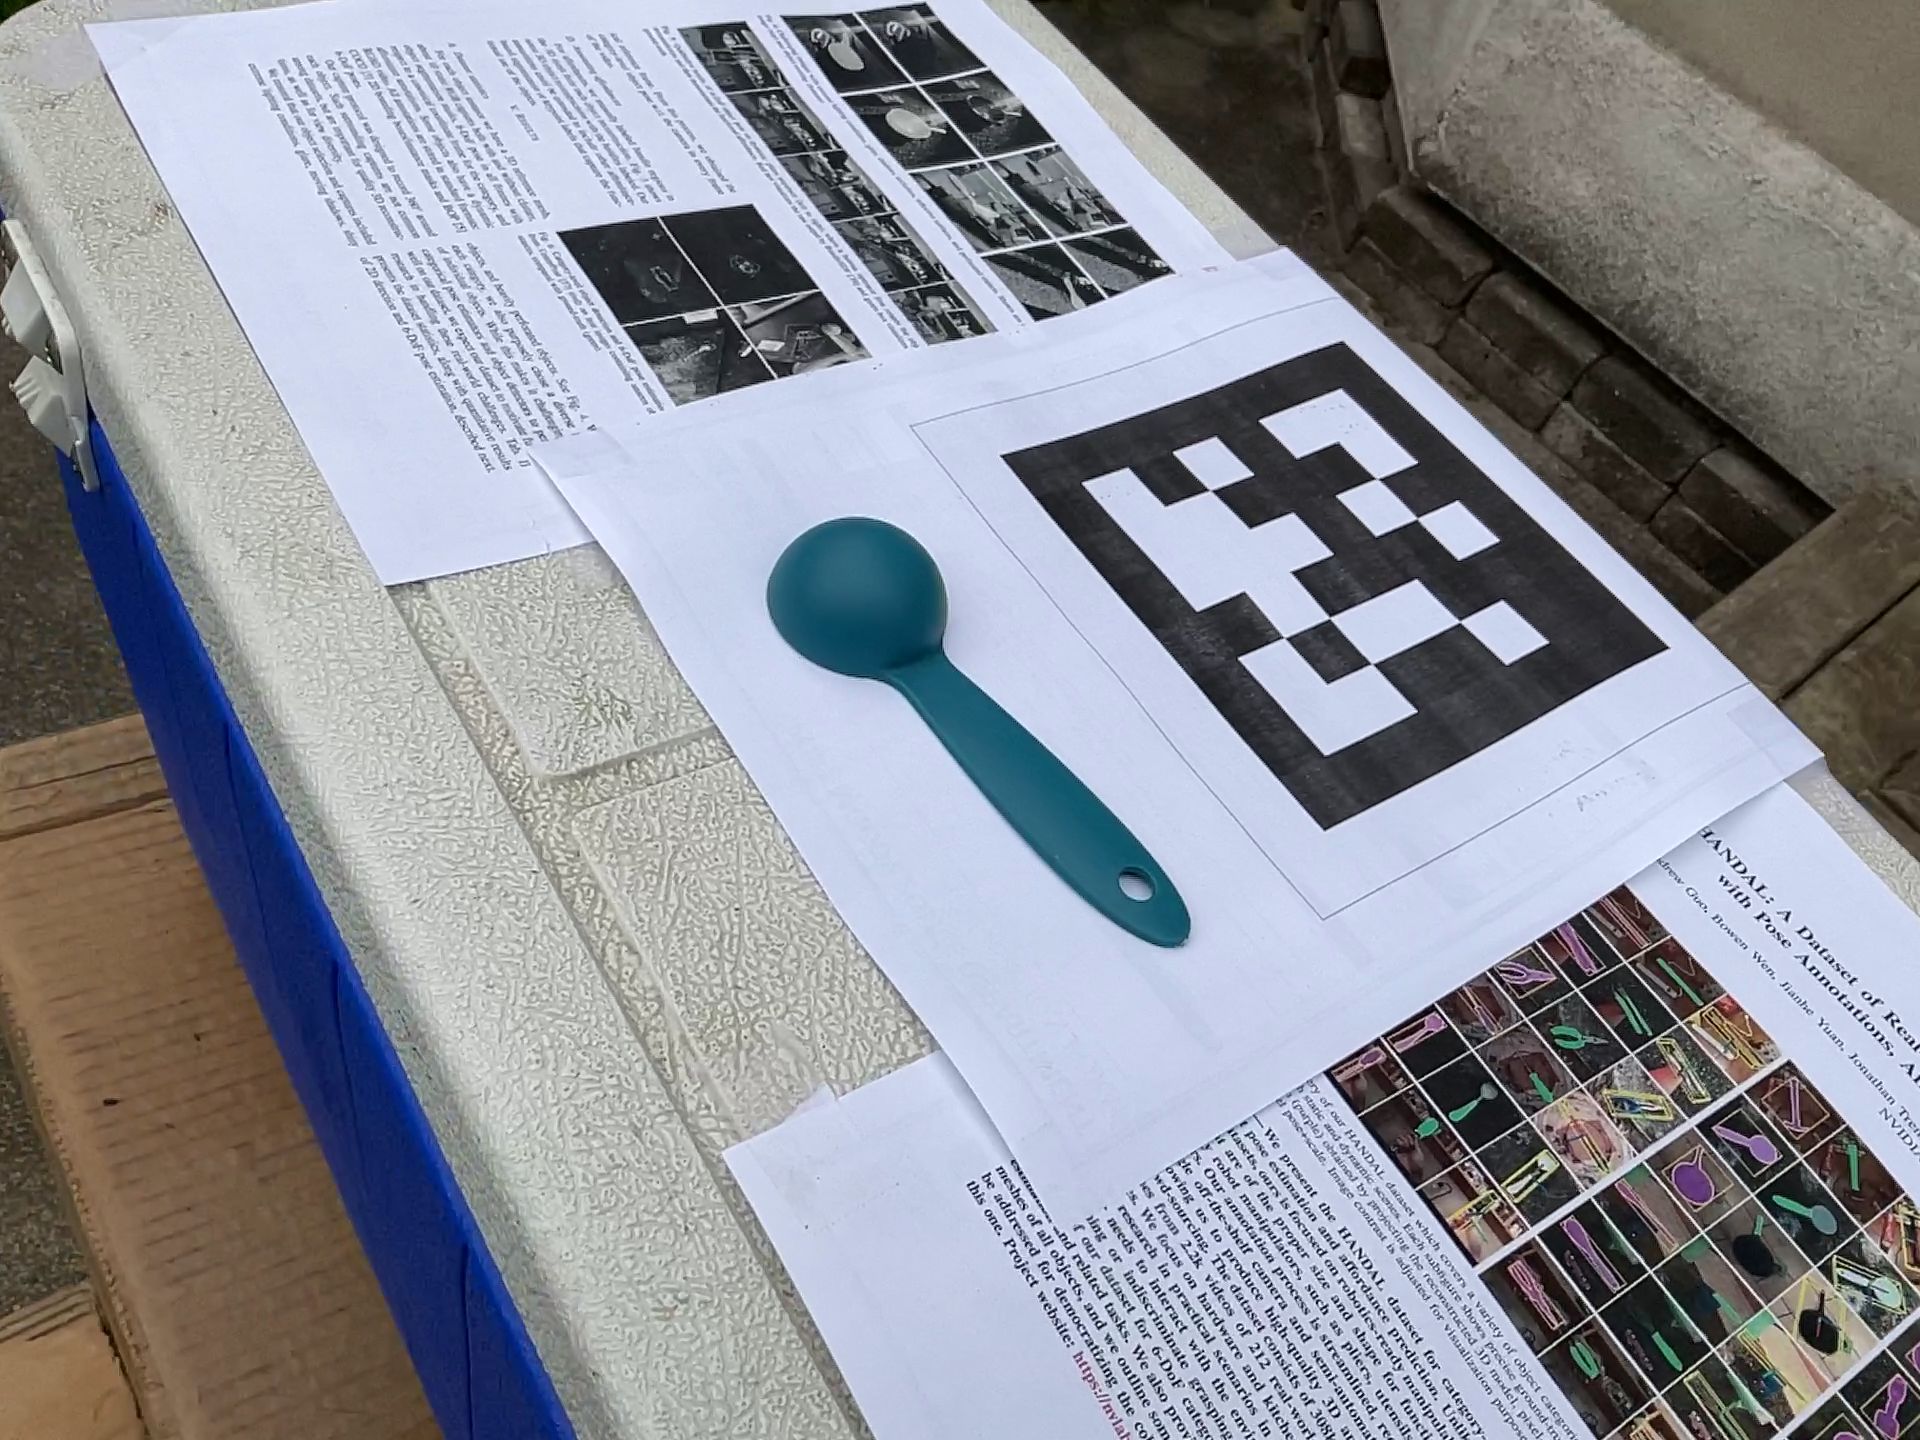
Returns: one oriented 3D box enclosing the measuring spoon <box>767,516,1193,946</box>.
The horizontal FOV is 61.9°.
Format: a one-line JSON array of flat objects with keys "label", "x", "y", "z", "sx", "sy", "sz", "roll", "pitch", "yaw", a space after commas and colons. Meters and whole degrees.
[{"label": "measuring spoon", "x": 0.007, "y": -0.003, "z": 0.348, "sx": 0.042, "sy": 0.021, "sz": 0.129, "roll": -27, "pitch": 64, "yaw": -39}]
